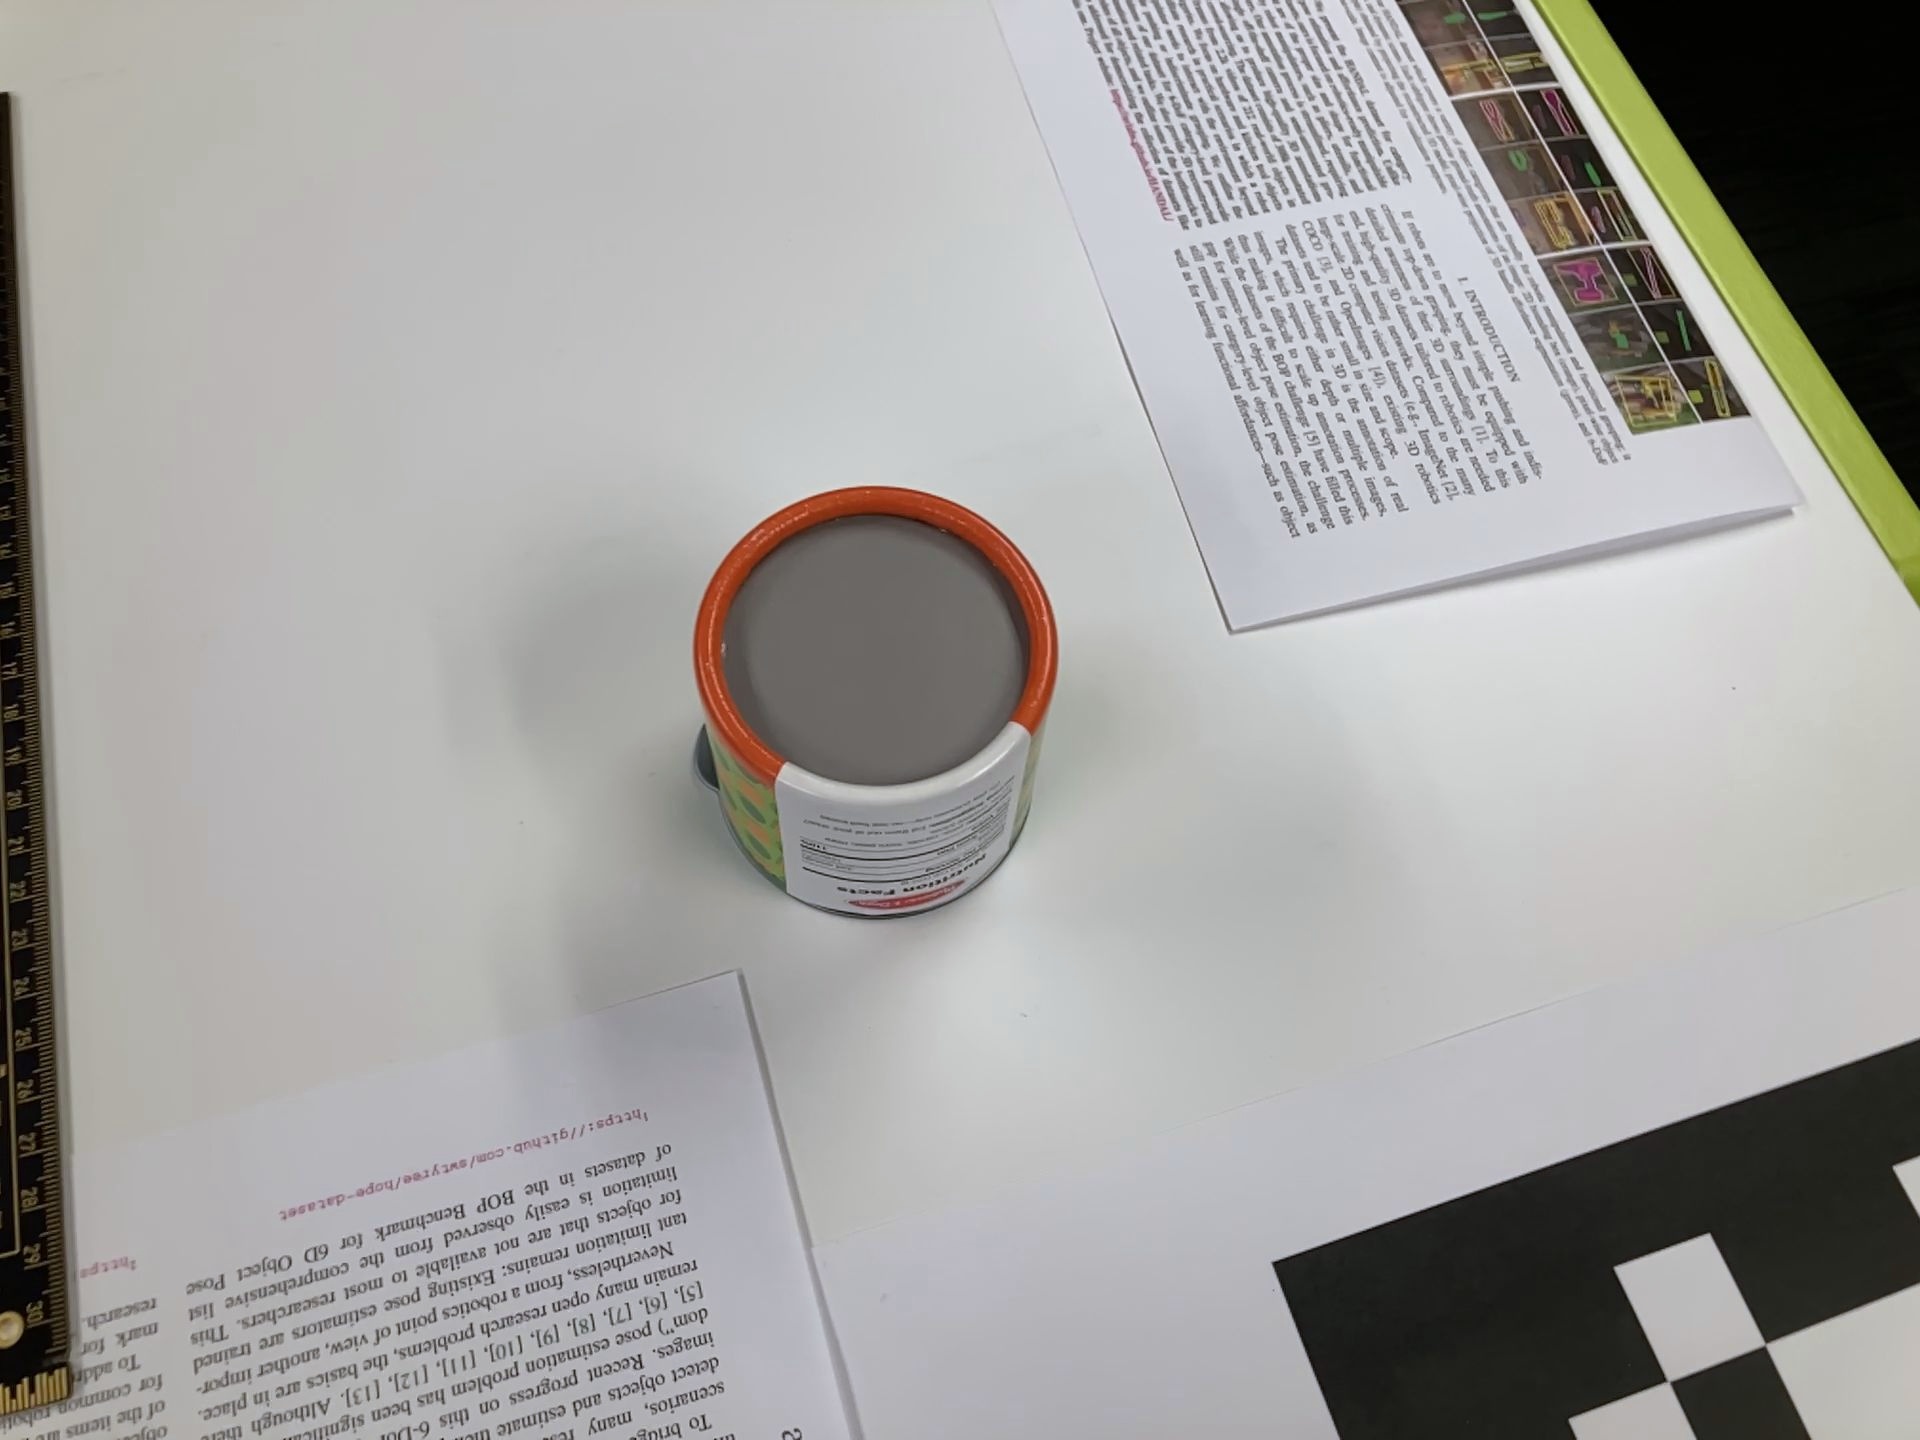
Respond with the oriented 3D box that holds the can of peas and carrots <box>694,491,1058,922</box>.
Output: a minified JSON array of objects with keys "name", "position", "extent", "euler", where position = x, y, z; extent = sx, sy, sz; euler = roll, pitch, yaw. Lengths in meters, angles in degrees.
[{"name":"can of peas and carrots","position":[-0.017,-0.004,0.309],"extent":[0.071,0.059,0.071],"euler":[1,63,-3]}]
